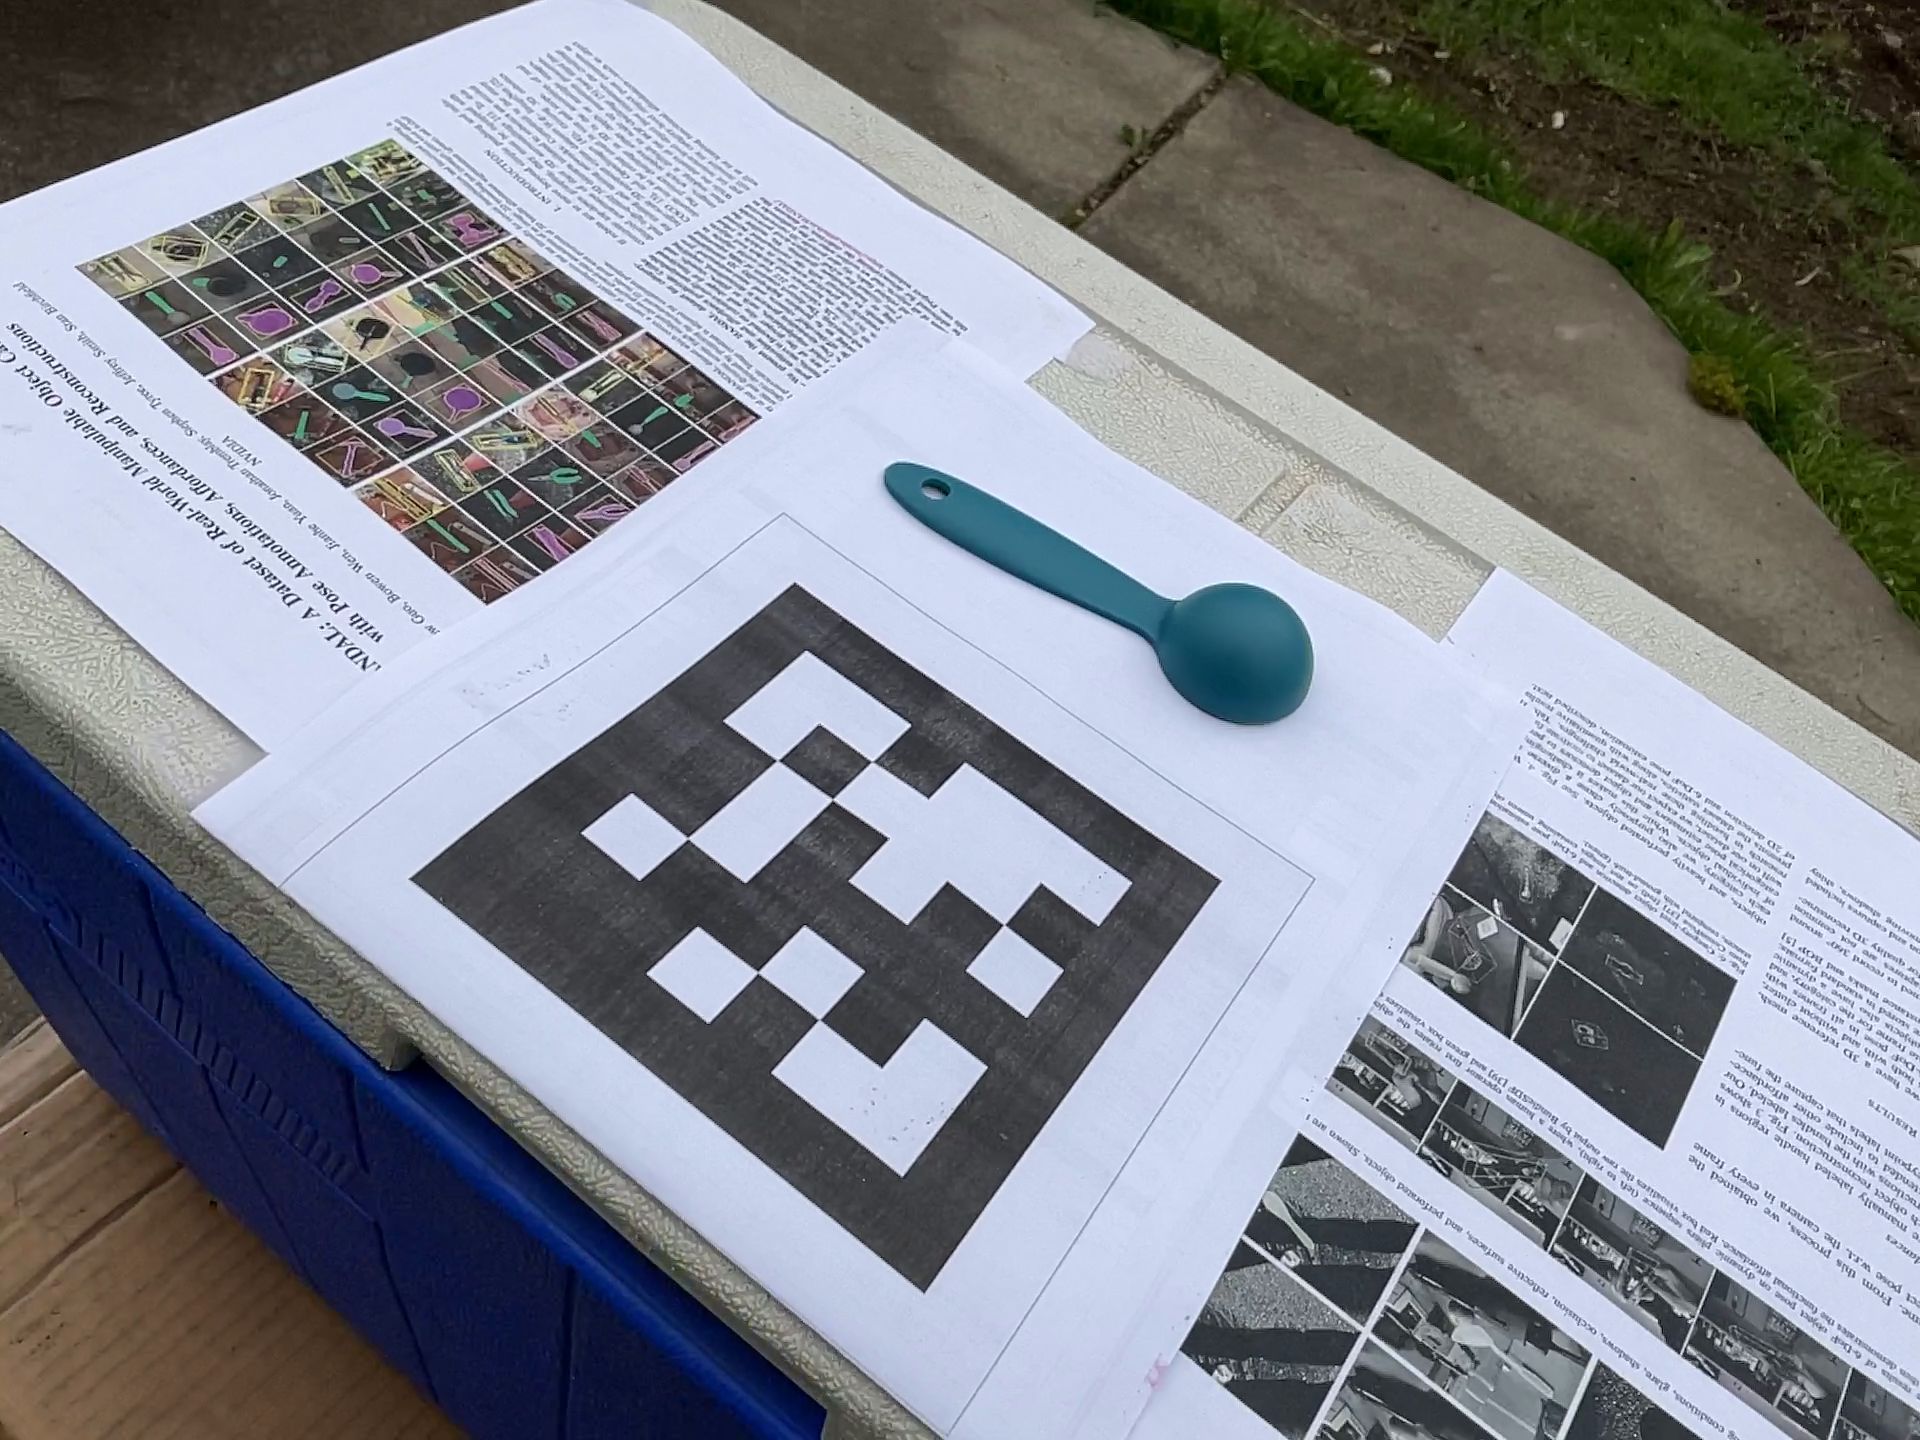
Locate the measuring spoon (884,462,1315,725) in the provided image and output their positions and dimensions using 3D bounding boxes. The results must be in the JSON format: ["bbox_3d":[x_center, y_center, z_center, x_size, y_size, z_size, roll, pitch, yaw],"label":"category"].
[{"bbox_3d":[0.037,-0.042,0.425,0.128,0.021,0.042,29,55,7],"label":"measuring spoon"}]
